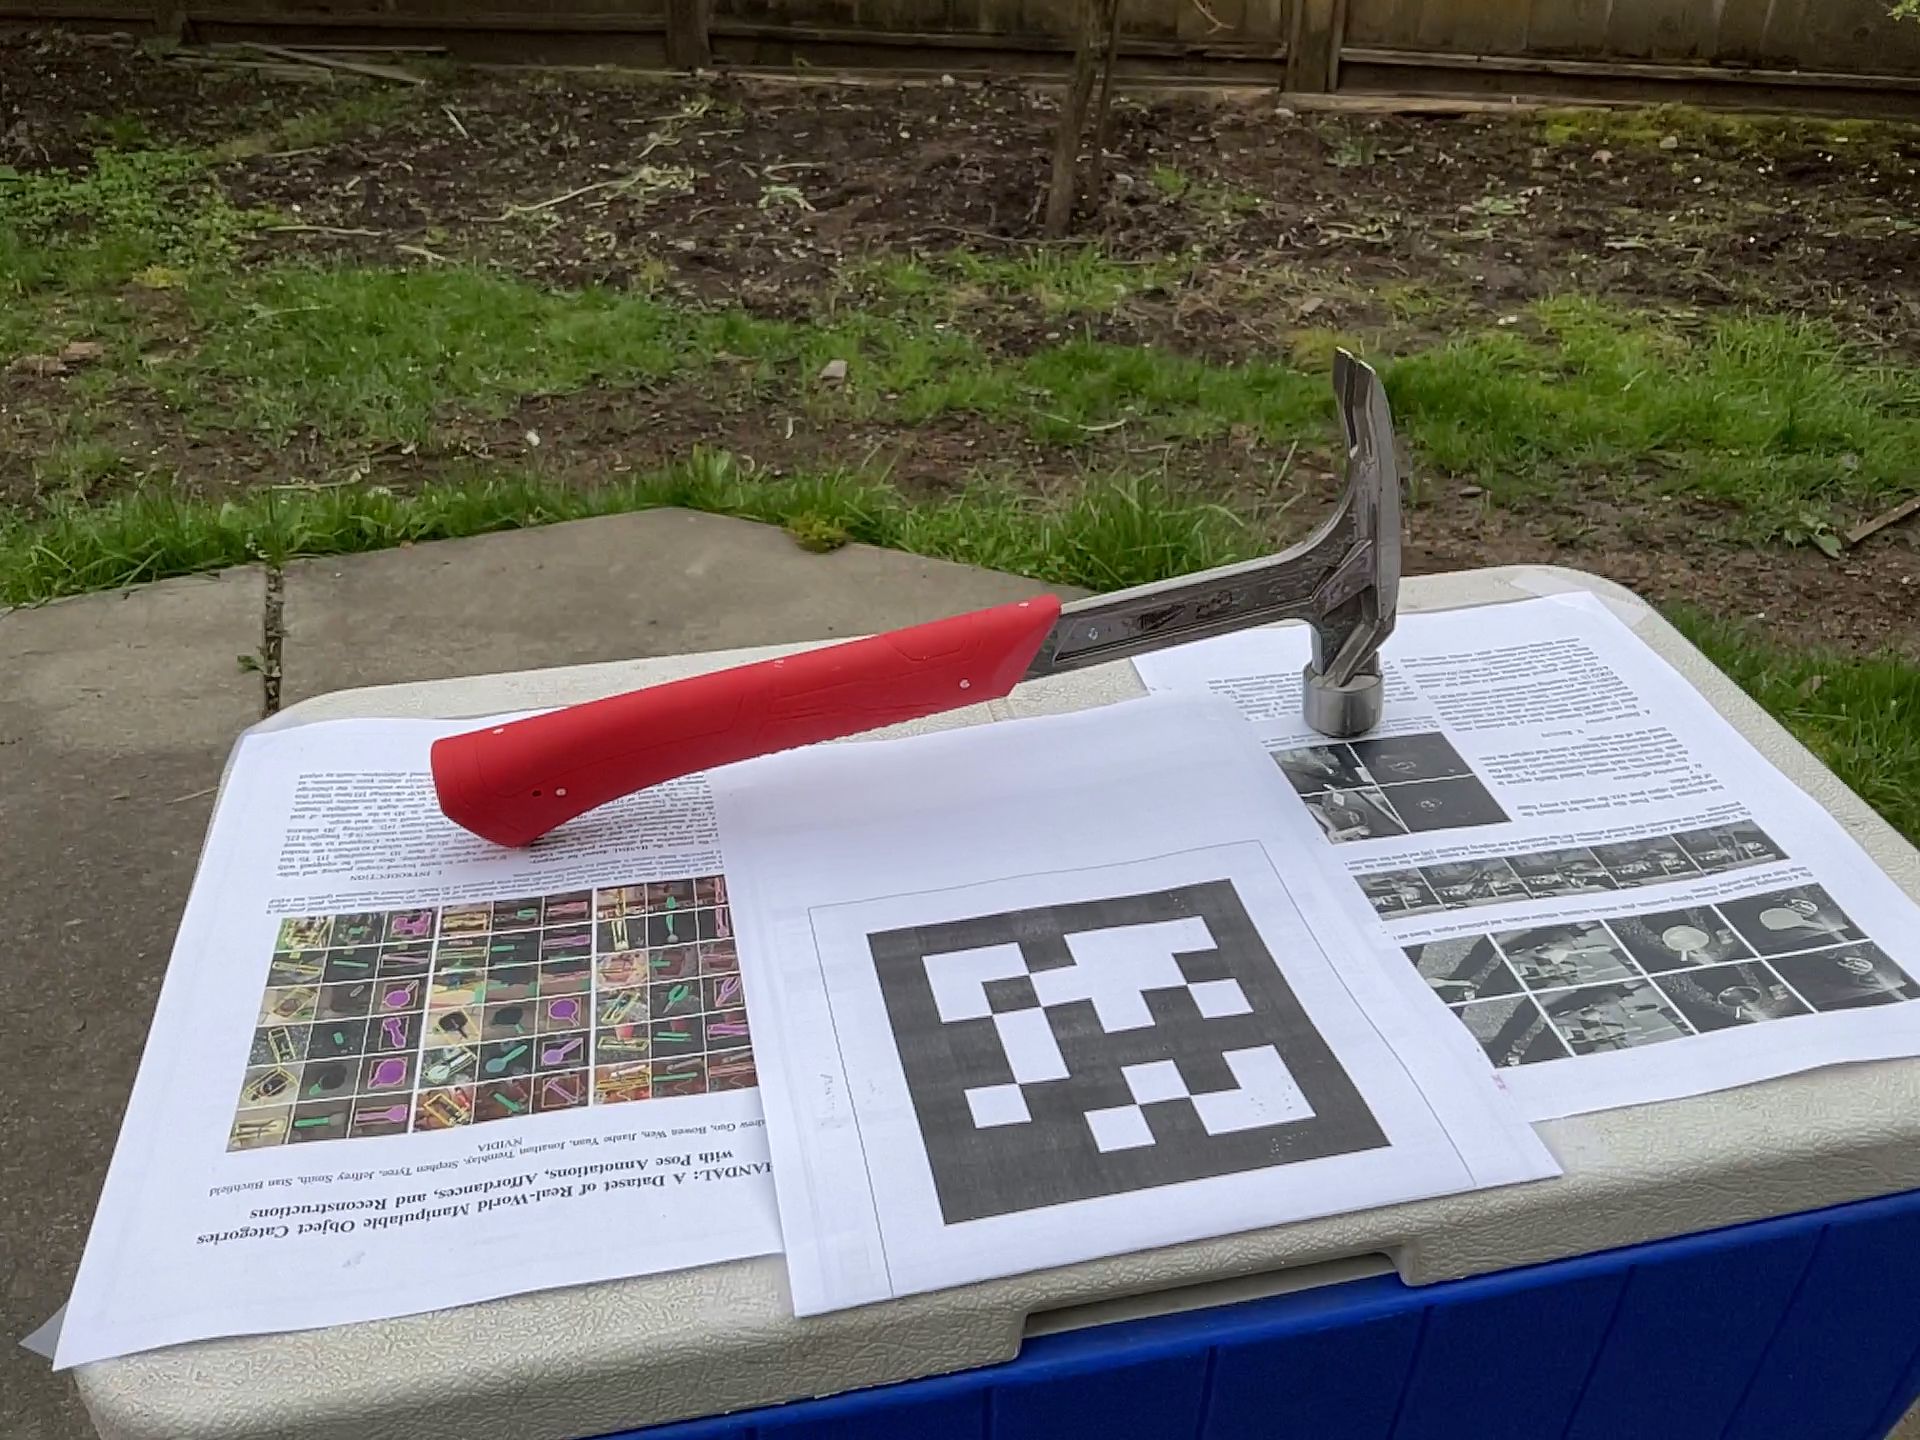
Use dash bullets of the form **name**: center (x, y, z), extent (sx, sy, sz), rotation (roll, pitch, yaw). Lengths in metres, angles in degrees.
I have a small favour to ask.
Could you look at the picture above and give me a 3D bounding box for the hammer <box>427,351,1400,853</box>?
- **hammer**: center (-0.012, -0.026, 0.582), extent (0.359, 0.149, 0.037), rotation (-13, 30, -8)
